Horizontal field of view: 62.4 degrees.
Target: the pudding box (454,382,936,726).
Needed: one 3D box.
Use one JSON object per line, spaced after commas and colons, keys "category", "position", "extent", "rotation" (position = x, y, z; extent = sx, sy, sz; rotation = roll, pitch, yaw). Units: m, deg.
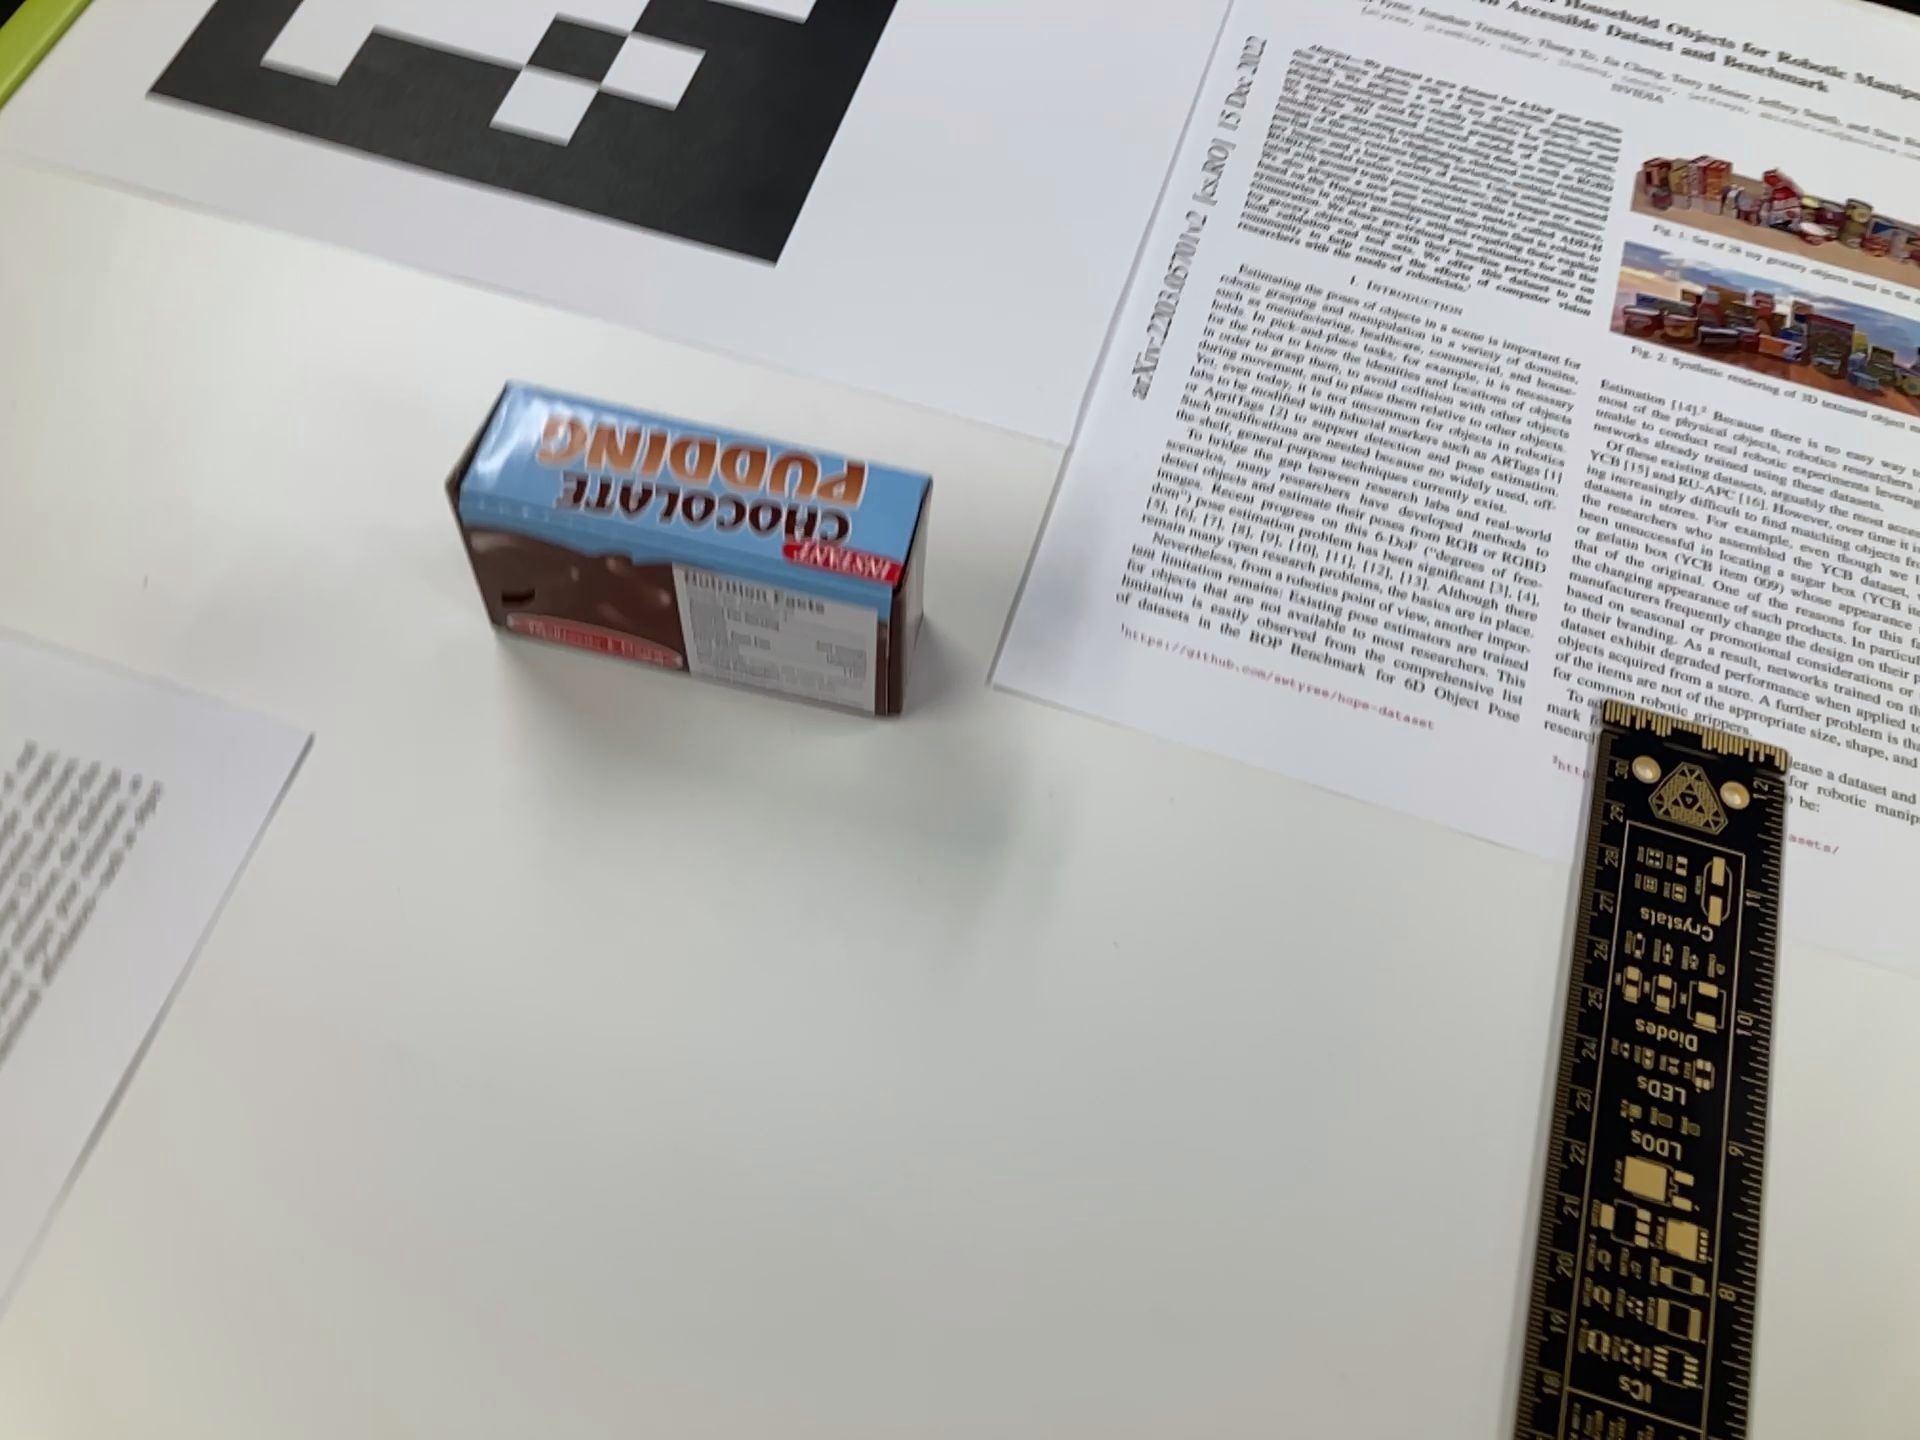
{"category": "pudding box", "position": [-0.049, -0.031, 0.307], "extent": [0.083, 0.049, 0.030], "rotation": [13, 62, 3]}
